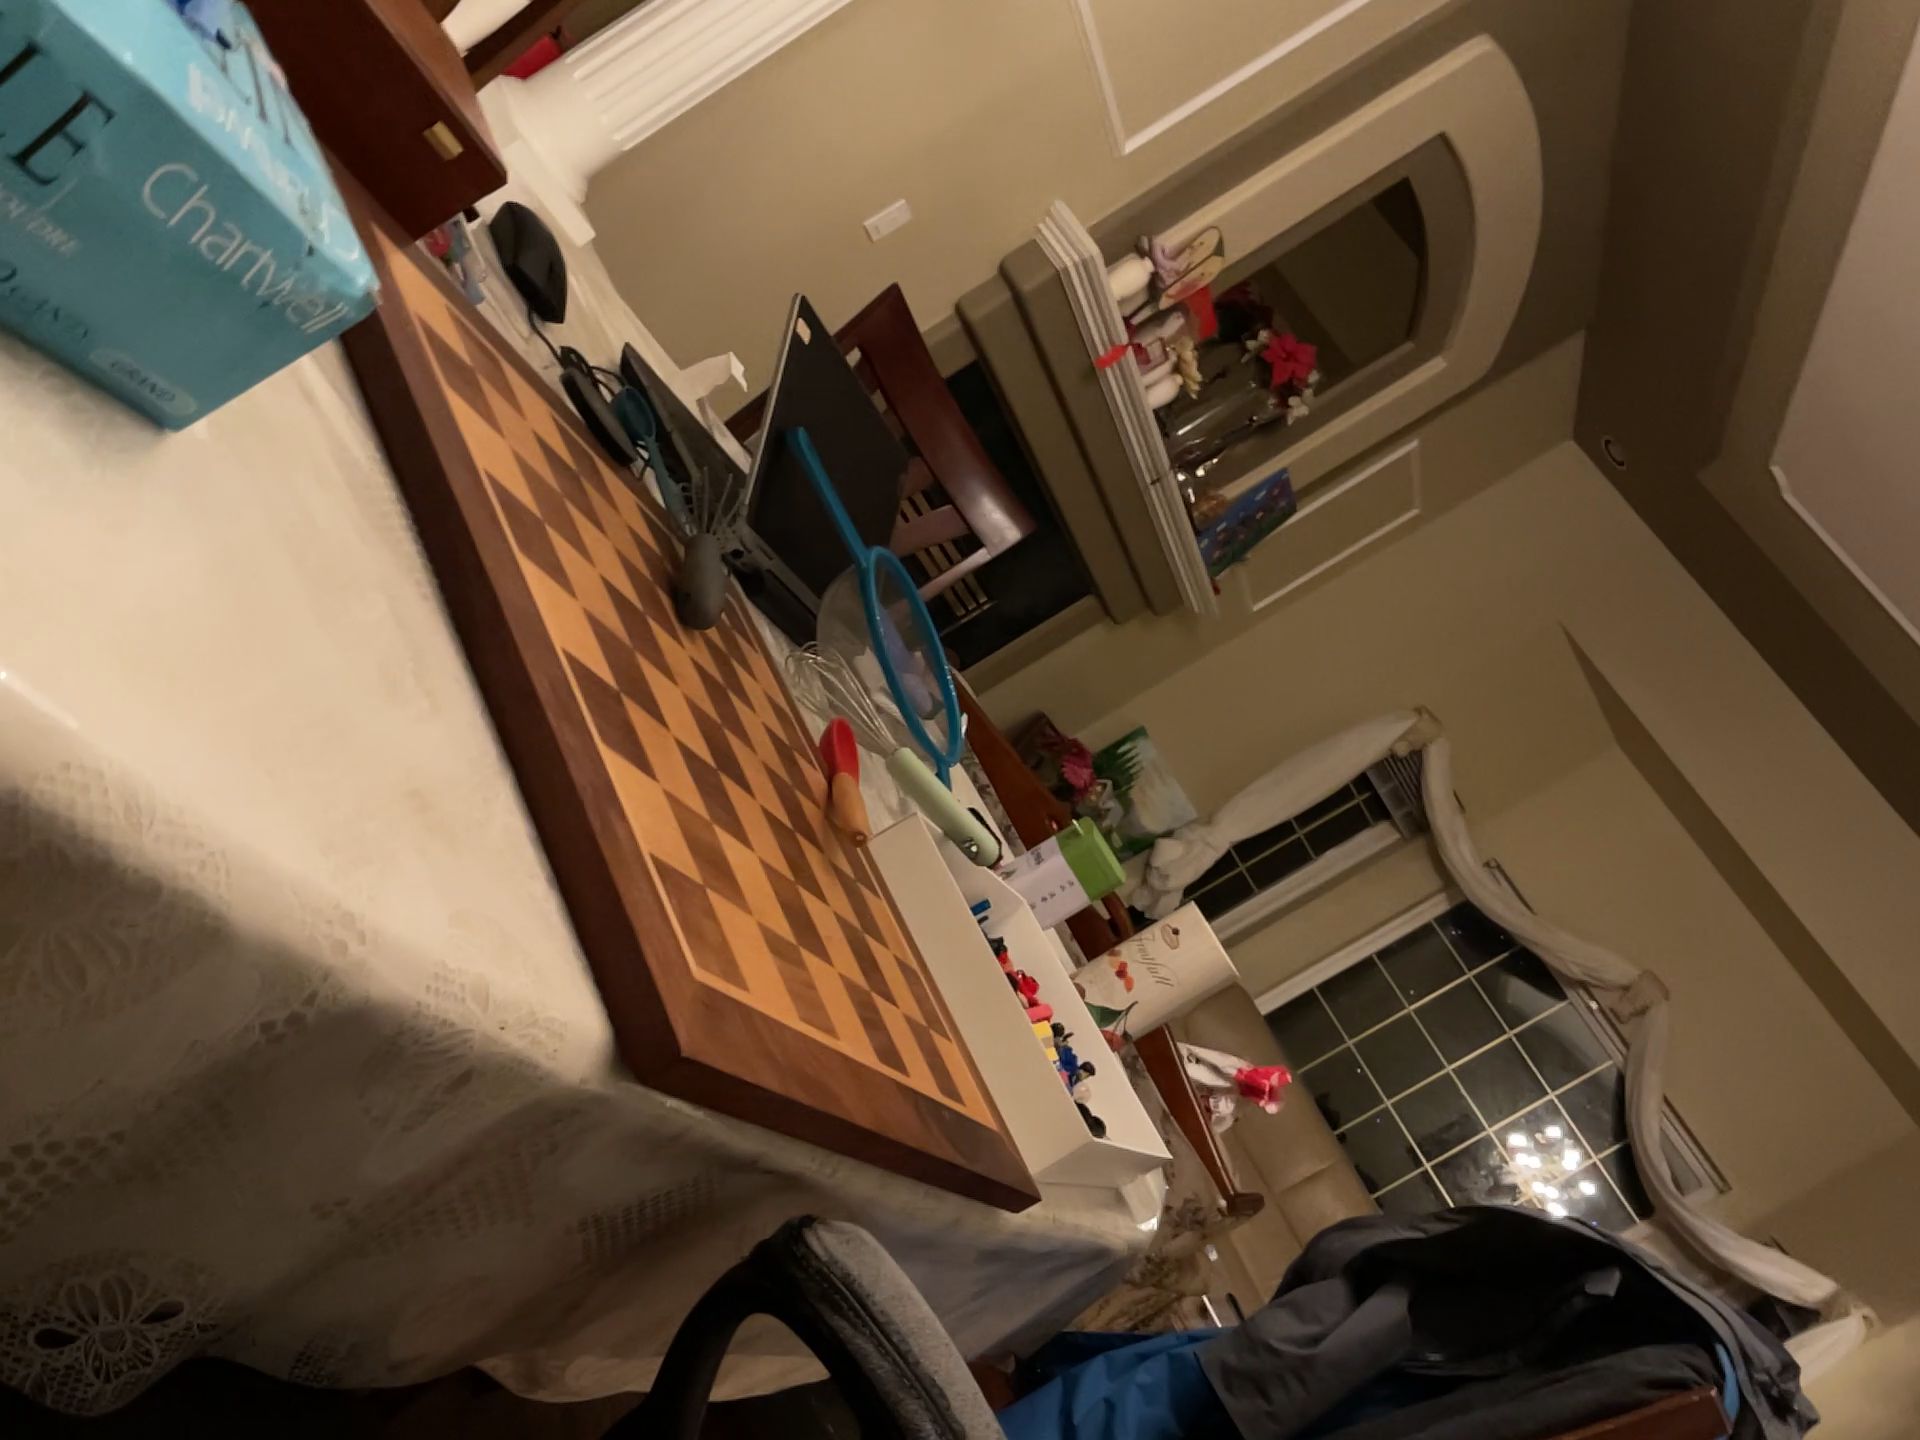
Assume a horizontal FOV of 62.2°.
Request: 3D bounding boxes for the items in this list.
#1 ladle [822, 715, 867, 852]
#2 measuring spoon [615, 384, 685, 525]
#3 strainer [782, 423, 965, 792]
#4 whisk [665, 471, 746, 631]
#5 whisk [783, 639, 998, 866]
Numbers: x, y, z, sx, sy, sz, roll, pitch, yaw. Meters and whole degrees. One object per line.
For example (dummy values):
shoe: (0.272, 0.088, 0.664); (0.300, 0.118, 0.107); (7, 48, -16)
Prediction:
ladle: (-0.073, 0.047, 1.031); (0.315, 0.031, 0.069); (-126, -154, -80)
measuring spoon: (-0.227, -0.184, 1.174); (0.042, 0.021, 0.128); (-23, 94, -78)
strainer: (-0.103, -0.095, 1.396); (0.211, 0.095, 0.340); (-87, 153, -59)
whisk: (-0.163, -0.107, 0.993); (0.055, 0.055, 0.239); (43, 14, -22)
whisk: (-0.055, 0.024, 1.230); (0.247, 0.058, 0.059); (46, 29, 23)
